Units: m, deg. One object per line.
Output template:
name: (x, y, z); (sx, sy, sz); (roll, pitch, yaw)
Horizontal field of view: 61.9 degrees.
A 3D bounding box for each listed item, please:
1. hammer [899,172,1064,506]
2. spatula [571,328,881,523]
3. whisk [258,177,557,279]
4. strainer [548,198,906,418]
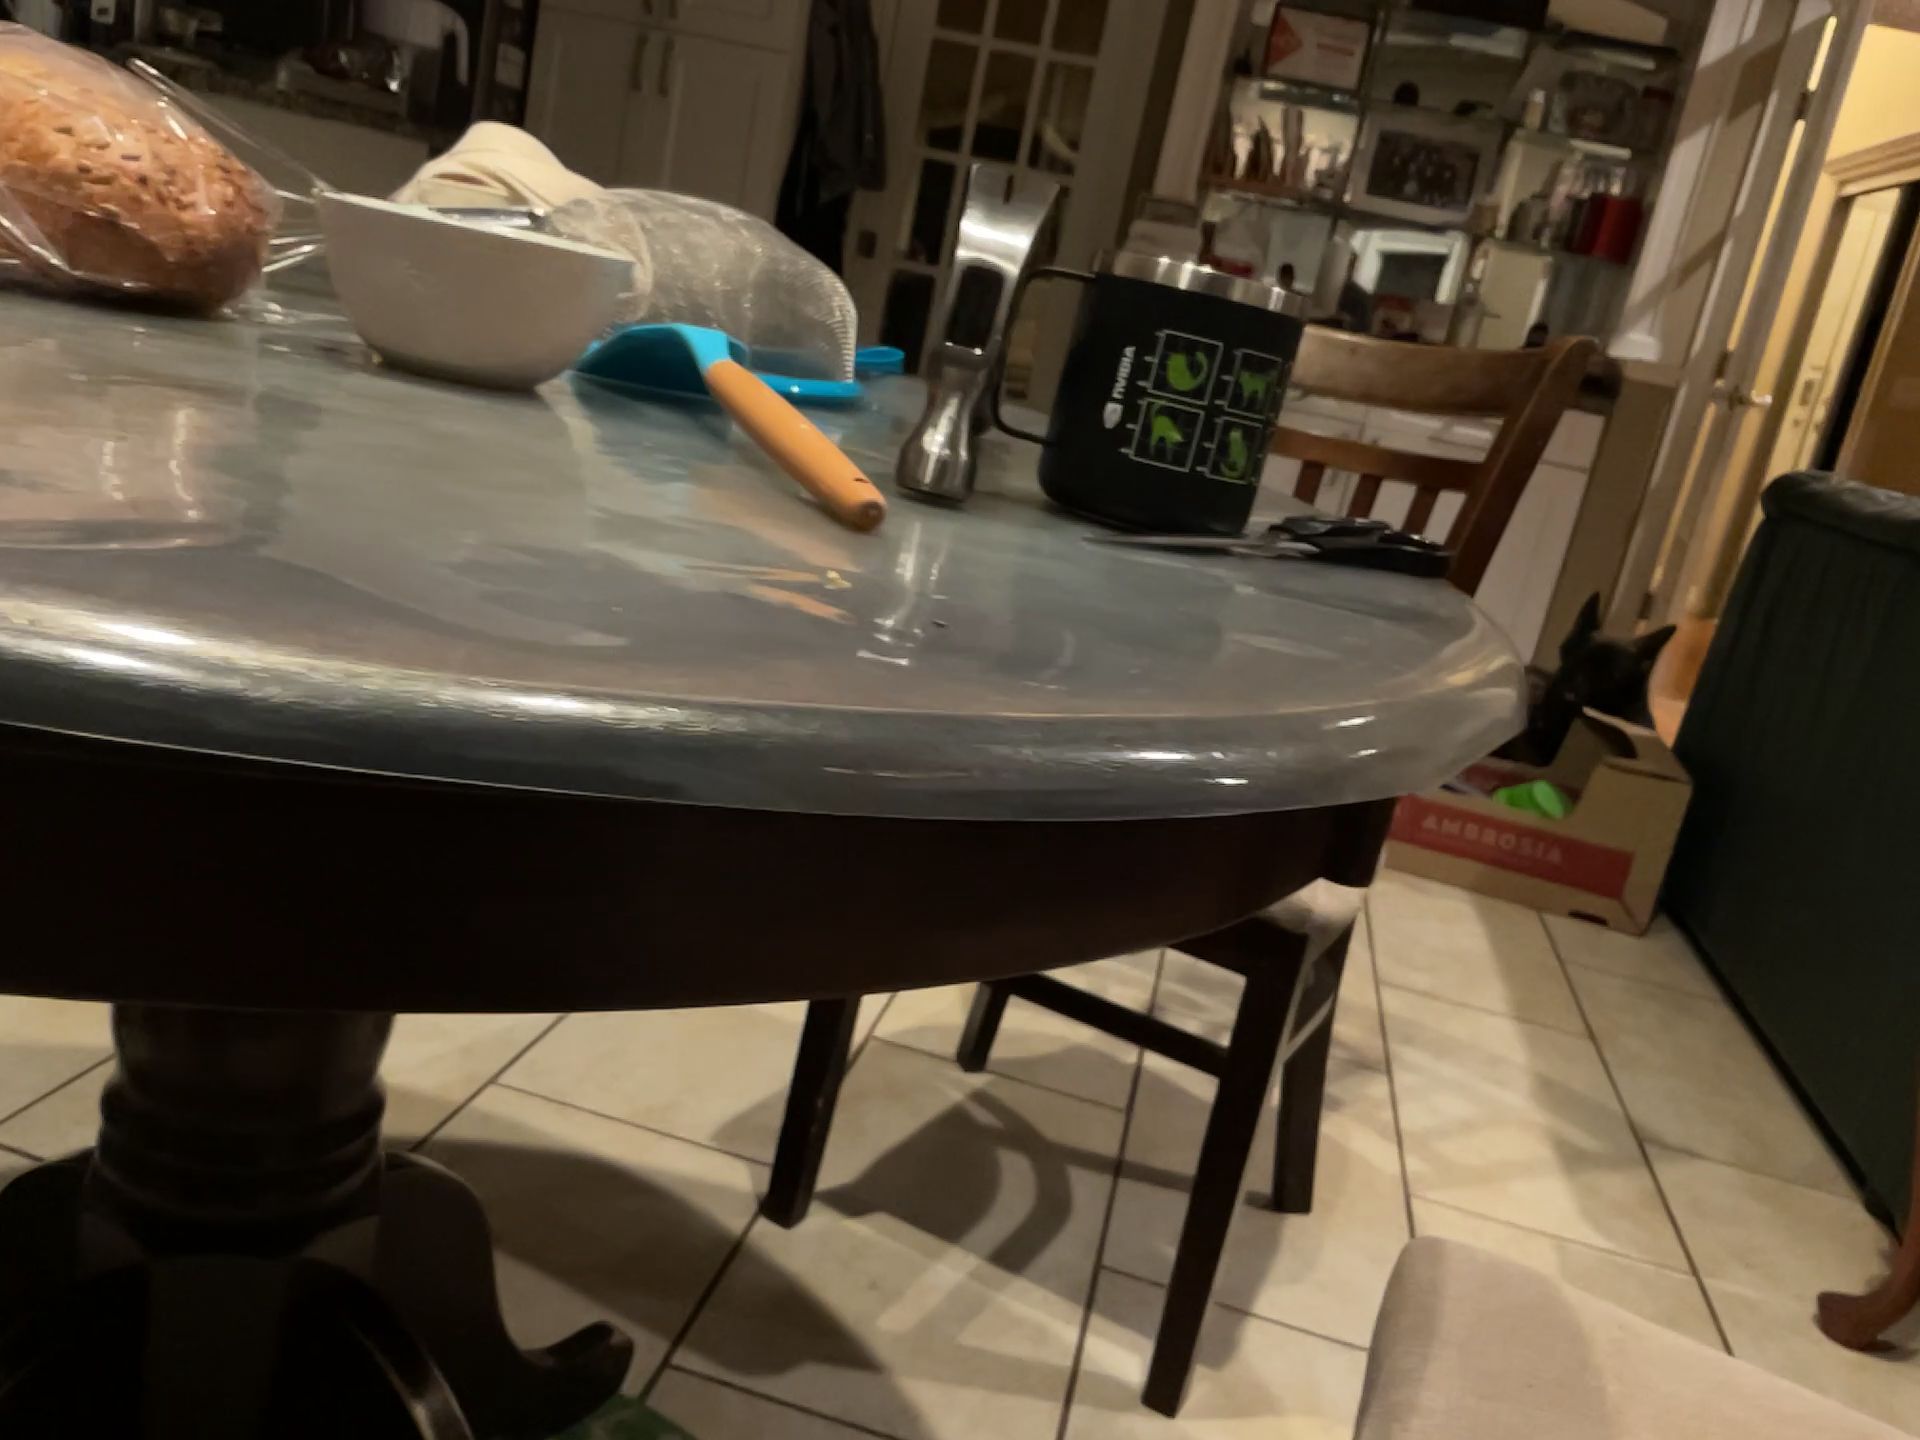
hammer: (0.009, -0.159, 0.733); (0.033, 0.128, 0.331); (15, 6, -1)
spatula: (-0.087, -0.118, 0.629); (0.082, 0.044, 0.318); (6, 20, -25)
whisk: (-0.331, -0.280, 0.910); (0.059, 0.058, 0.246); (-15, 3, 41)
strainer: (-0.118, -0.250, 0.941); (0.211, 0.095, 0.340); (20, 21, 24)
